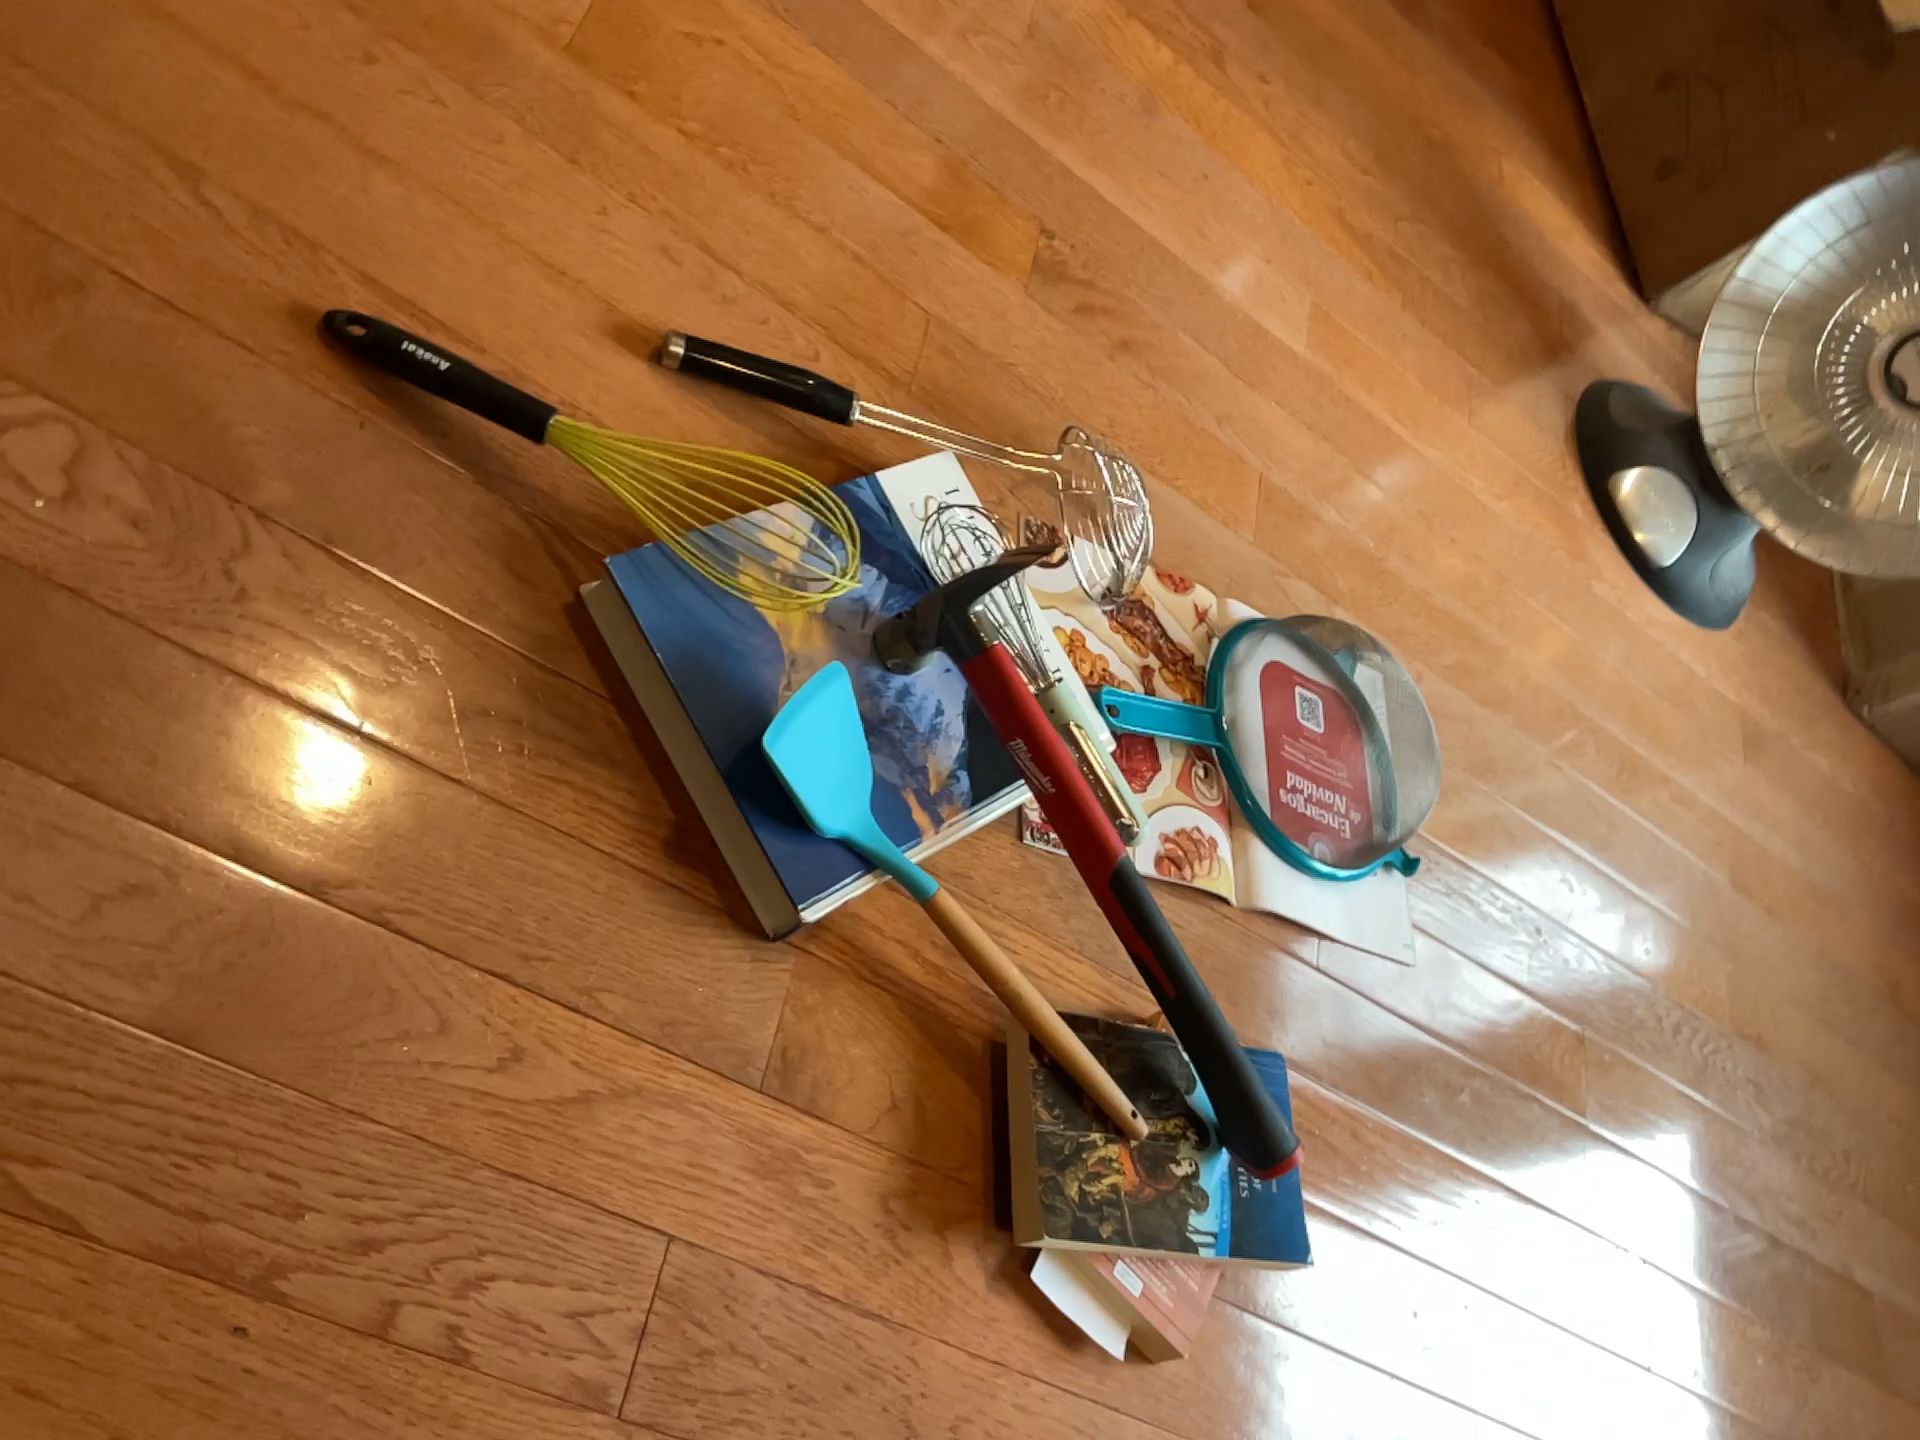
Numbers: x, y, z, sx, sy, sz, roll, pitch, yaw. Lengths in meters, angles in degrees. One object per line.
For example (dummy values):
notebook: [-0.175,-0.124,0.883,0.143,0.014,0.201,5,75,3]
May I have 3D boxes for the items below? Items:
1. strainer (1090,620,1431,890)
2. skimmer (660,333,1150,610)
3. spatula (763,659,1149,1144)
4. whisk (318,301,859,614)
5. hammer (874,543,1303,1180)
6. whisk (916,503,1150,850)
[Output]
strainer: [0.233,0.001,1.114,0.340,0.095,0.211,12,62,-43]
skimmer: [-0.026,-0.168,1.044,0.363,0.090,0.127,14,62,-22]
spatula: [0.006,0.112,0.863,0.317,0.044,0.082,49,45,-9]
whisk: [-0.194,-0.143,0.848,0.311,0.067,0.080,27,67,-9]
hammer: [0.095,0.086,0.896,0.038,0.143,0.386,-34,95,-41]
whisk: [0.048,-0.026,0.974,0.246,0.057,0.059,59,14,-6]
